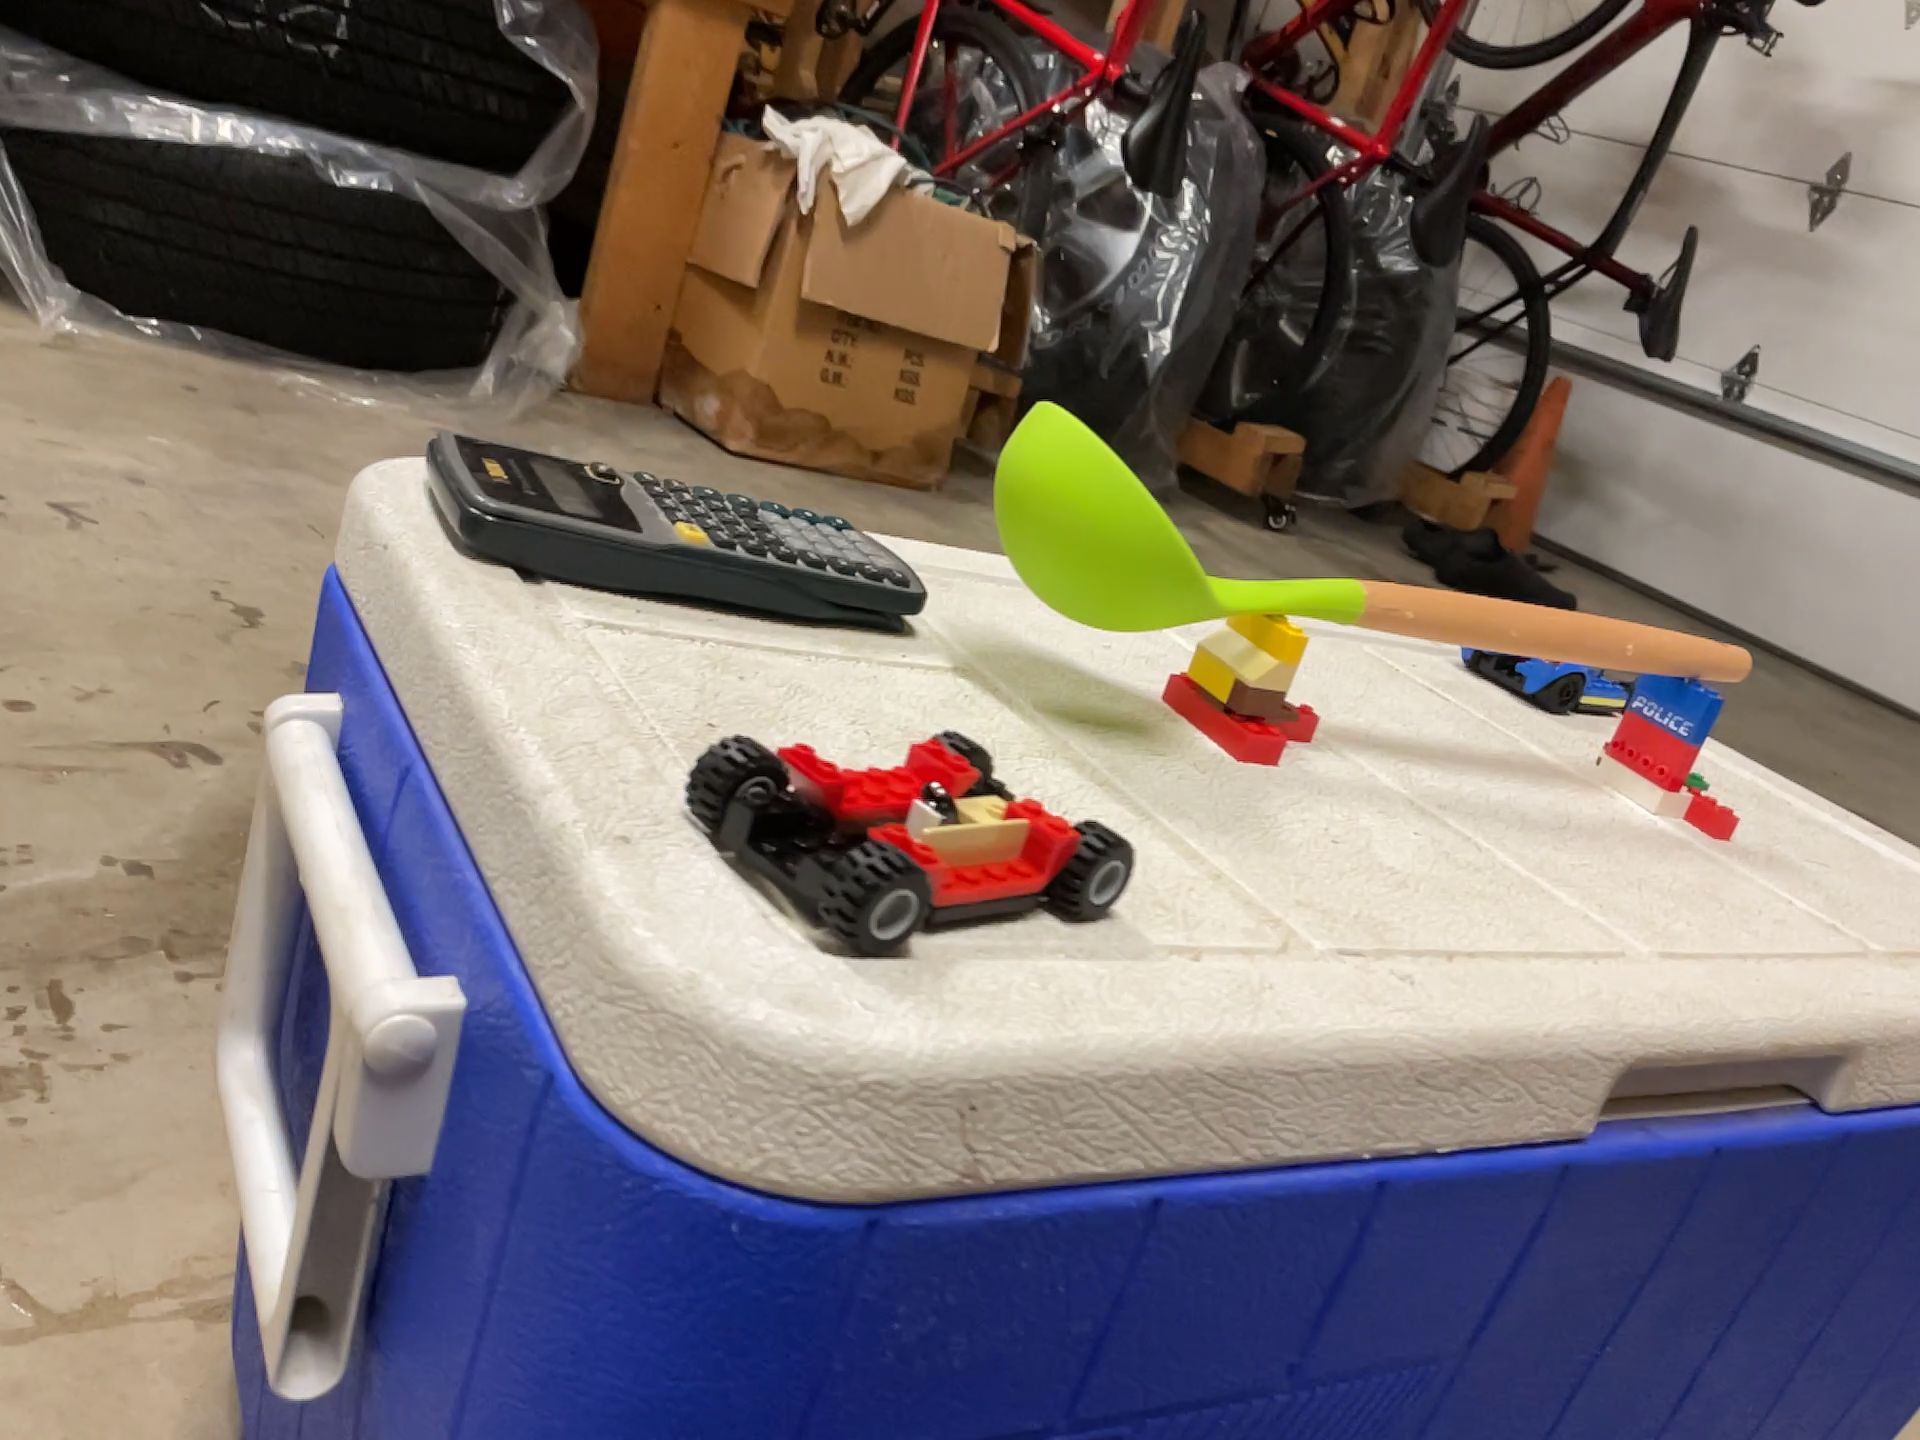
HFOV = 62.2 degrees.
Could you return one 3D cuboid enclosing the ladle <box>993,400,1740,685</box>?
[{"bbox_3d":[0.154,-0.047,0.535,0.320,0.062,0.078,7,21,-26],"label":"ladle"}]
